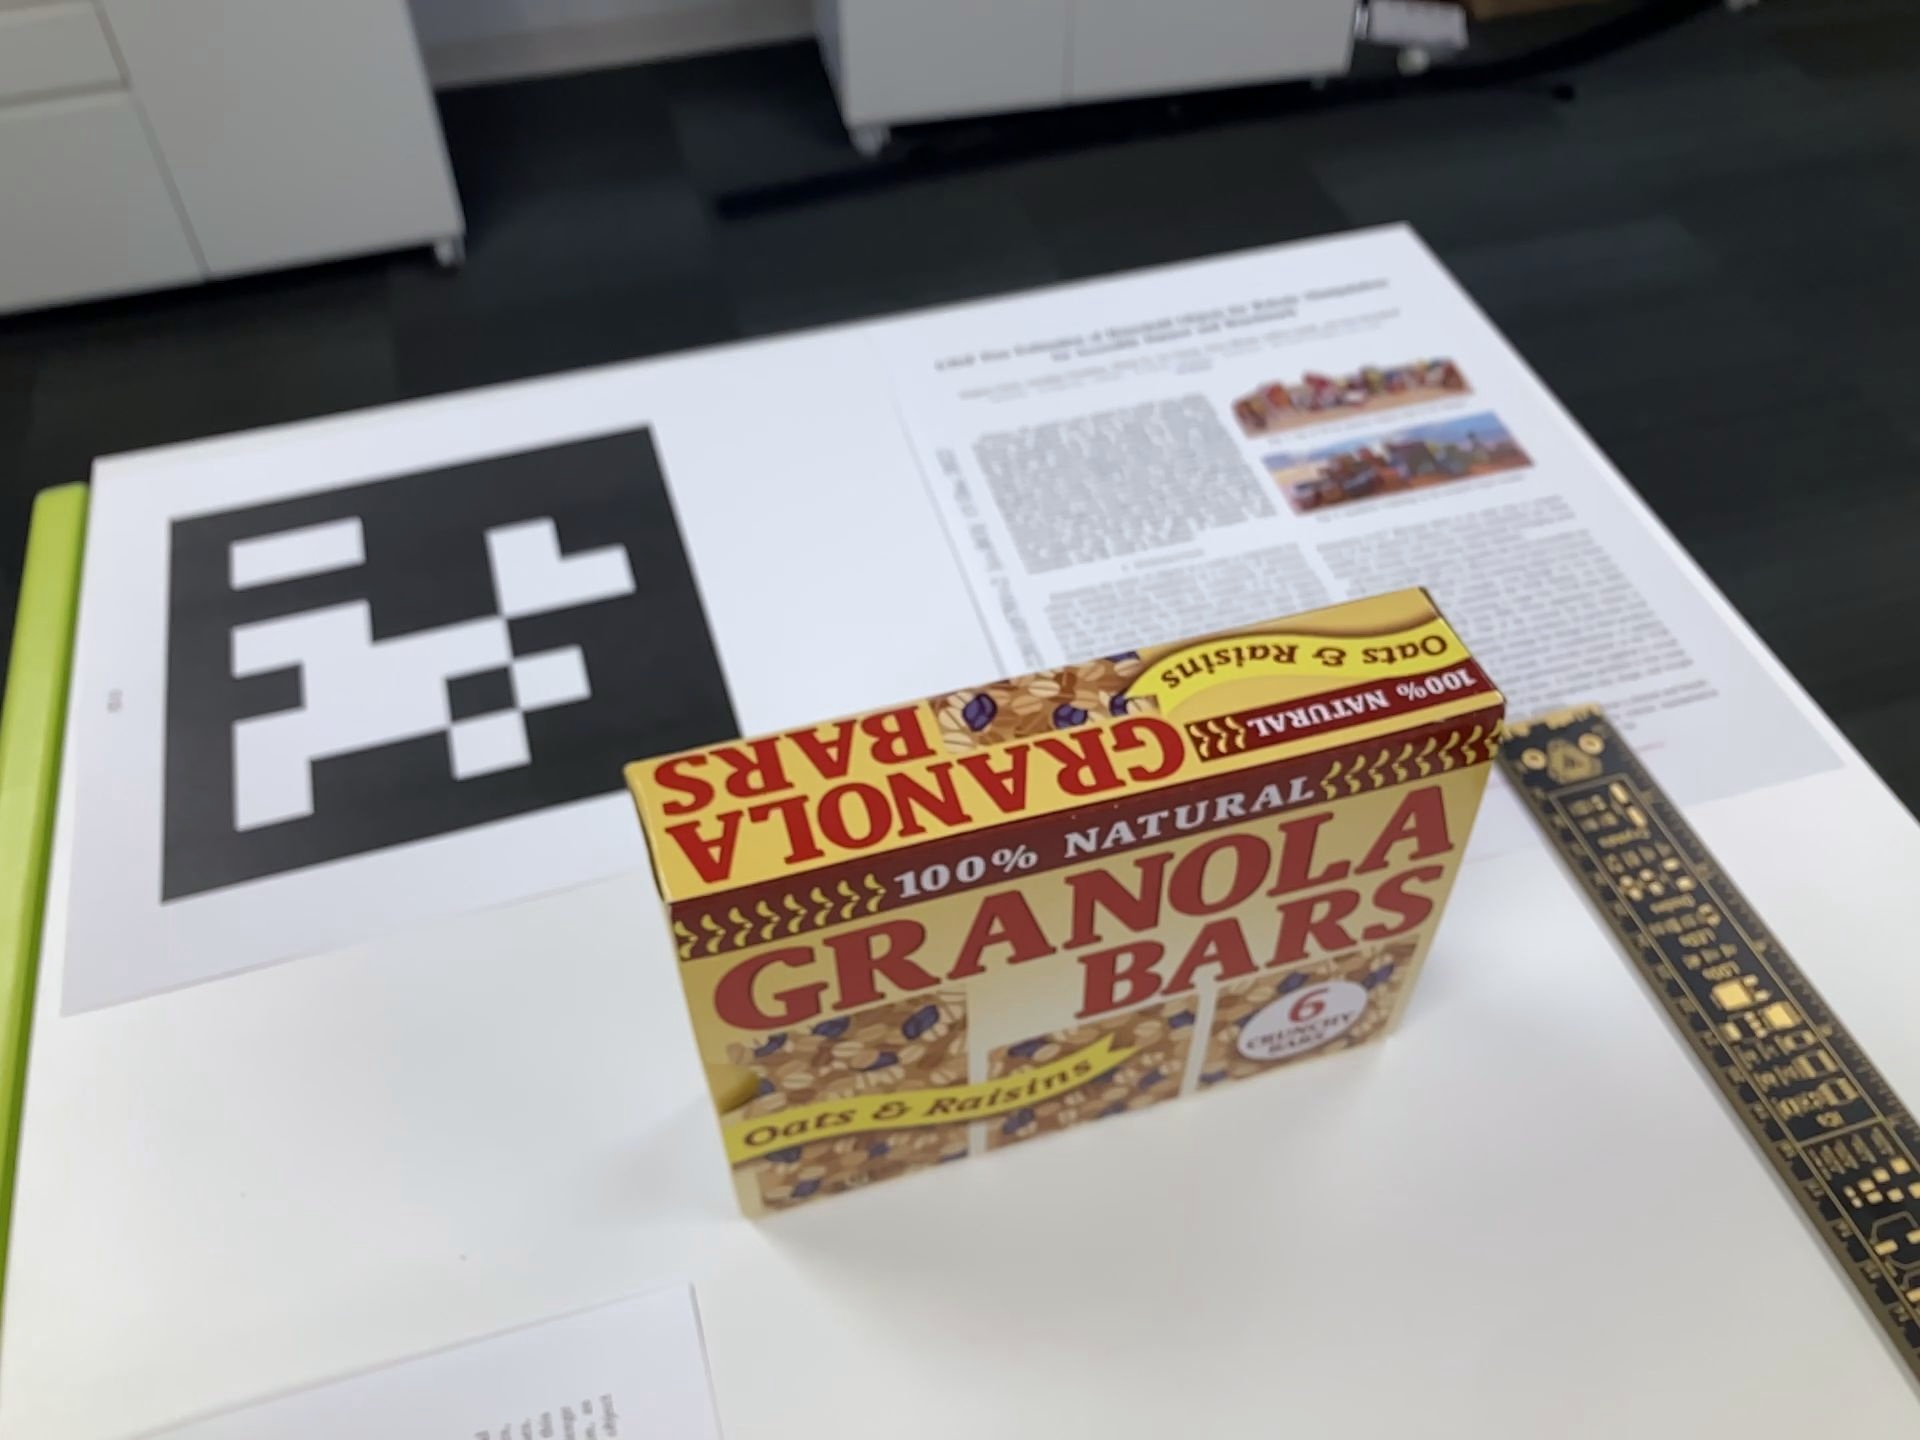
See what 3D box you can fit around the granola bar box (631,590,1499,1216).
[{"bbox_3d":[0.023,0.044,0.350,0.165,0.124,0.039,-13,48,-10],"label":"granola bar box"}]
